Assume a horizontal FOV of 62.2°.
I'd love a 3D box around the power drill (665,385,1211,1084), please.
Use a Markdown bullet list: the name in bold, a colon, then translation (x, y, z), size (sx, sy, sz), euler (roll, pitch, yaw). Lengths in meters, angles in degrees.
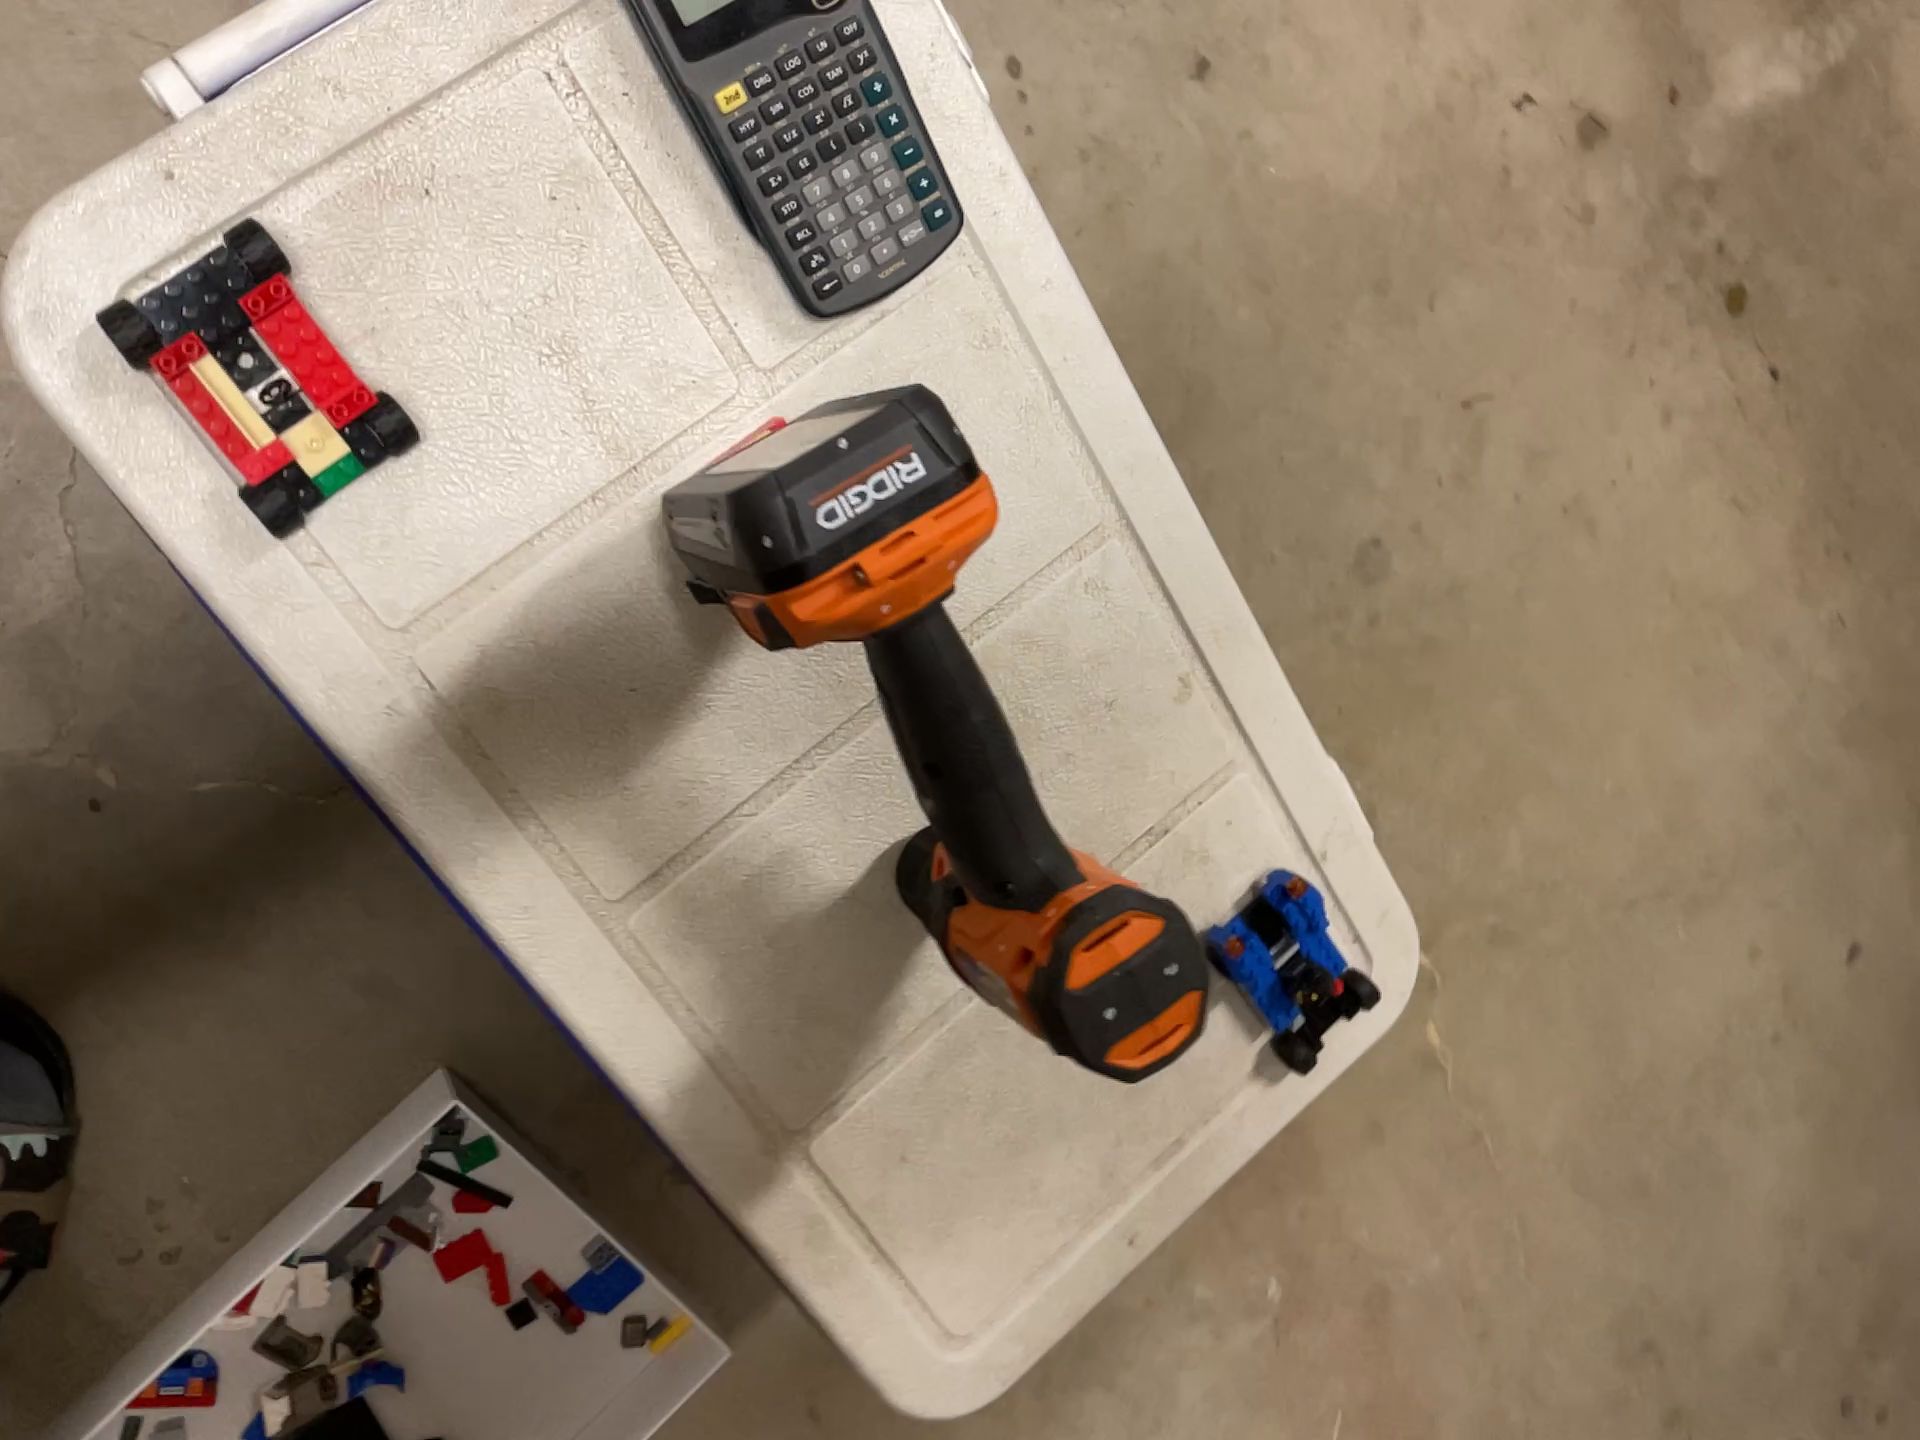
- **power drill**: translation (-0.014, 0.005, 0.556), size (0.084, 0.185, 0.226), euler (-32, 108, -14)
